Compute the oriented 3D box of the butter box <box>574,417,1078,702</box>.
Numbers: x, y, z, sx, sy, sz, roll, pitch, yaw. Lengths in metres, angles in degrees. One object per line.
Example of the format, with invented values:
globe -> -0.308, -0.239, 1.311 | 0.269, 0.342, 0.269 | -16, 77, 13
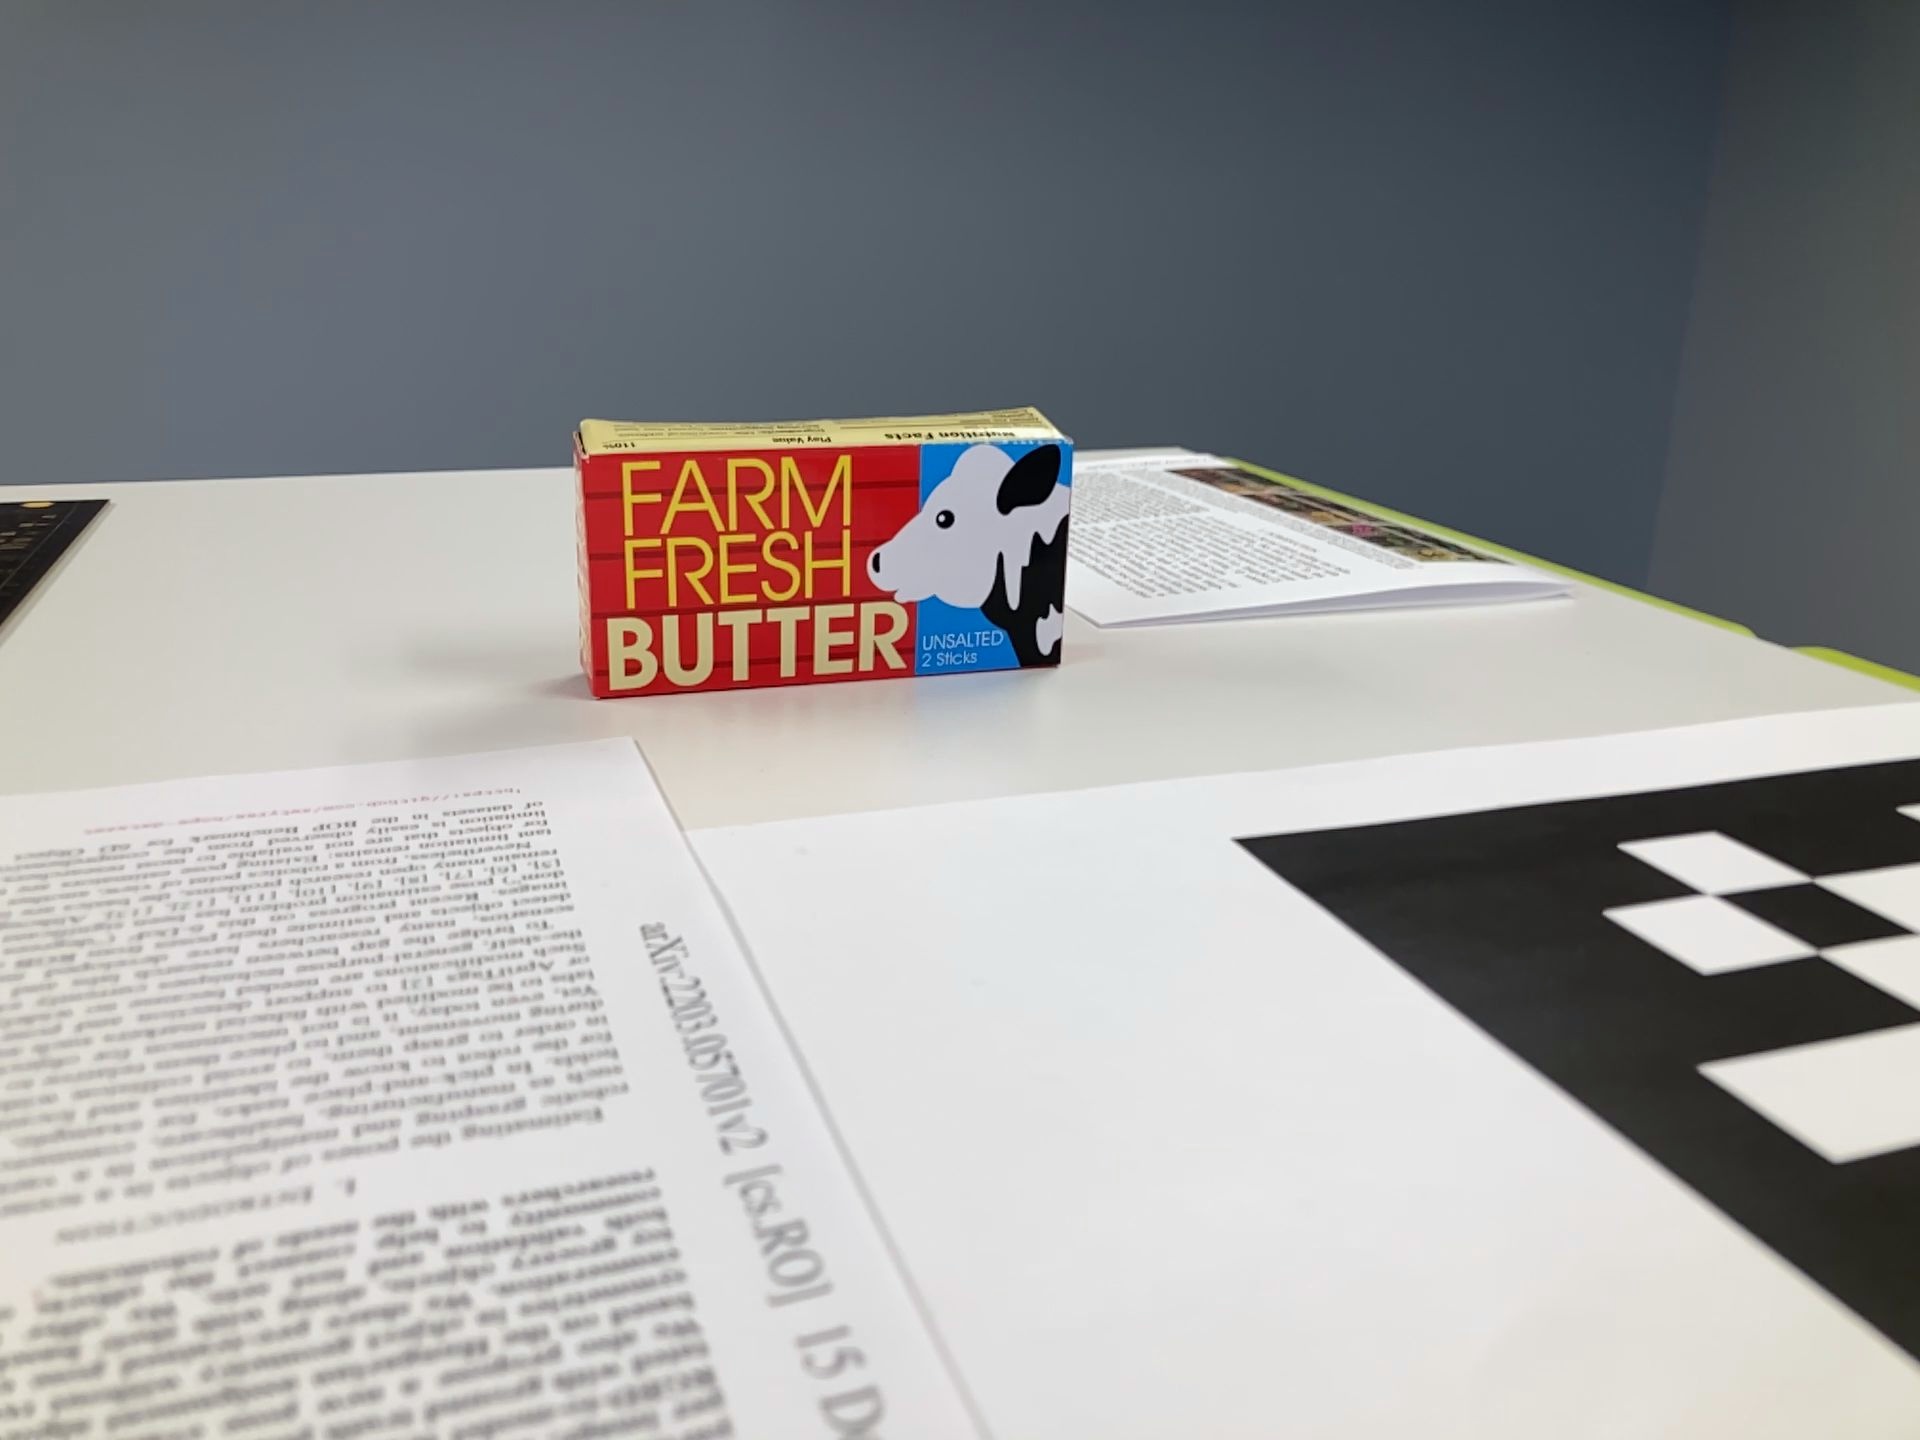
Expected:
butter box -> -0.028, -0.035, 0.334 | 0.103, 0.053, 0.024 | -5, 22, -18
